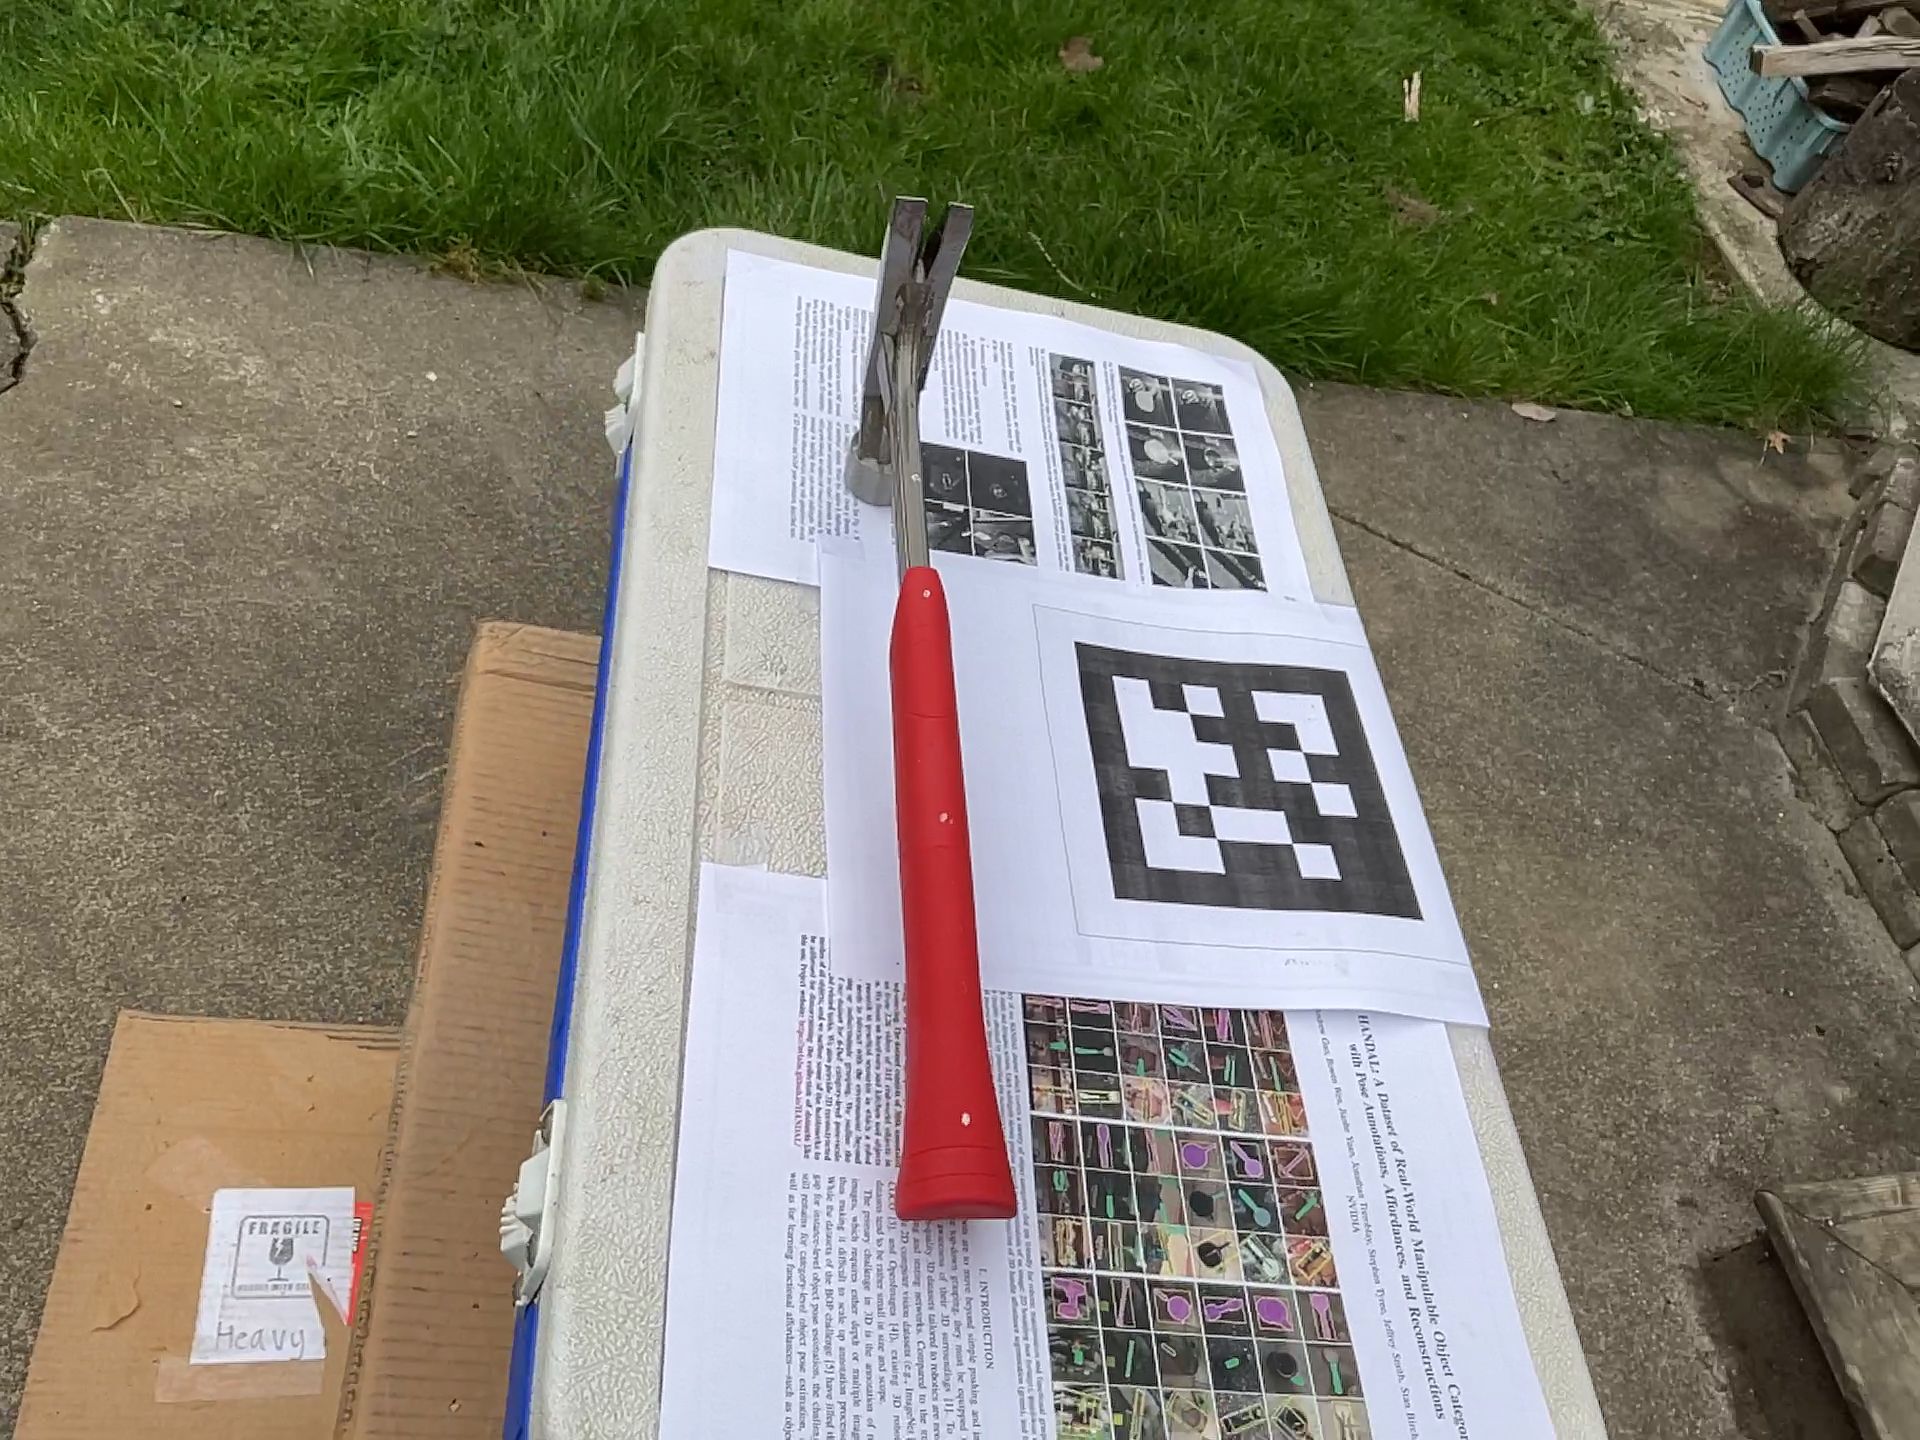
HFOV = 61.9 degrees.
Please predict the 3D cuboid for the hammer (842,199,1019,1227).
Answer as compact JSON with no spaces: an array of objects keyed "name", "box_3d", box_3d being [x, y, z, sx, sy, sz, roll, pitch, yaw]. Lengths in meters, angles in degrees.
[{"name":"hammer","box_3d":[-0.011,-0.009,0.558,0.036,0.149,0.359,3,57,-12]}]
